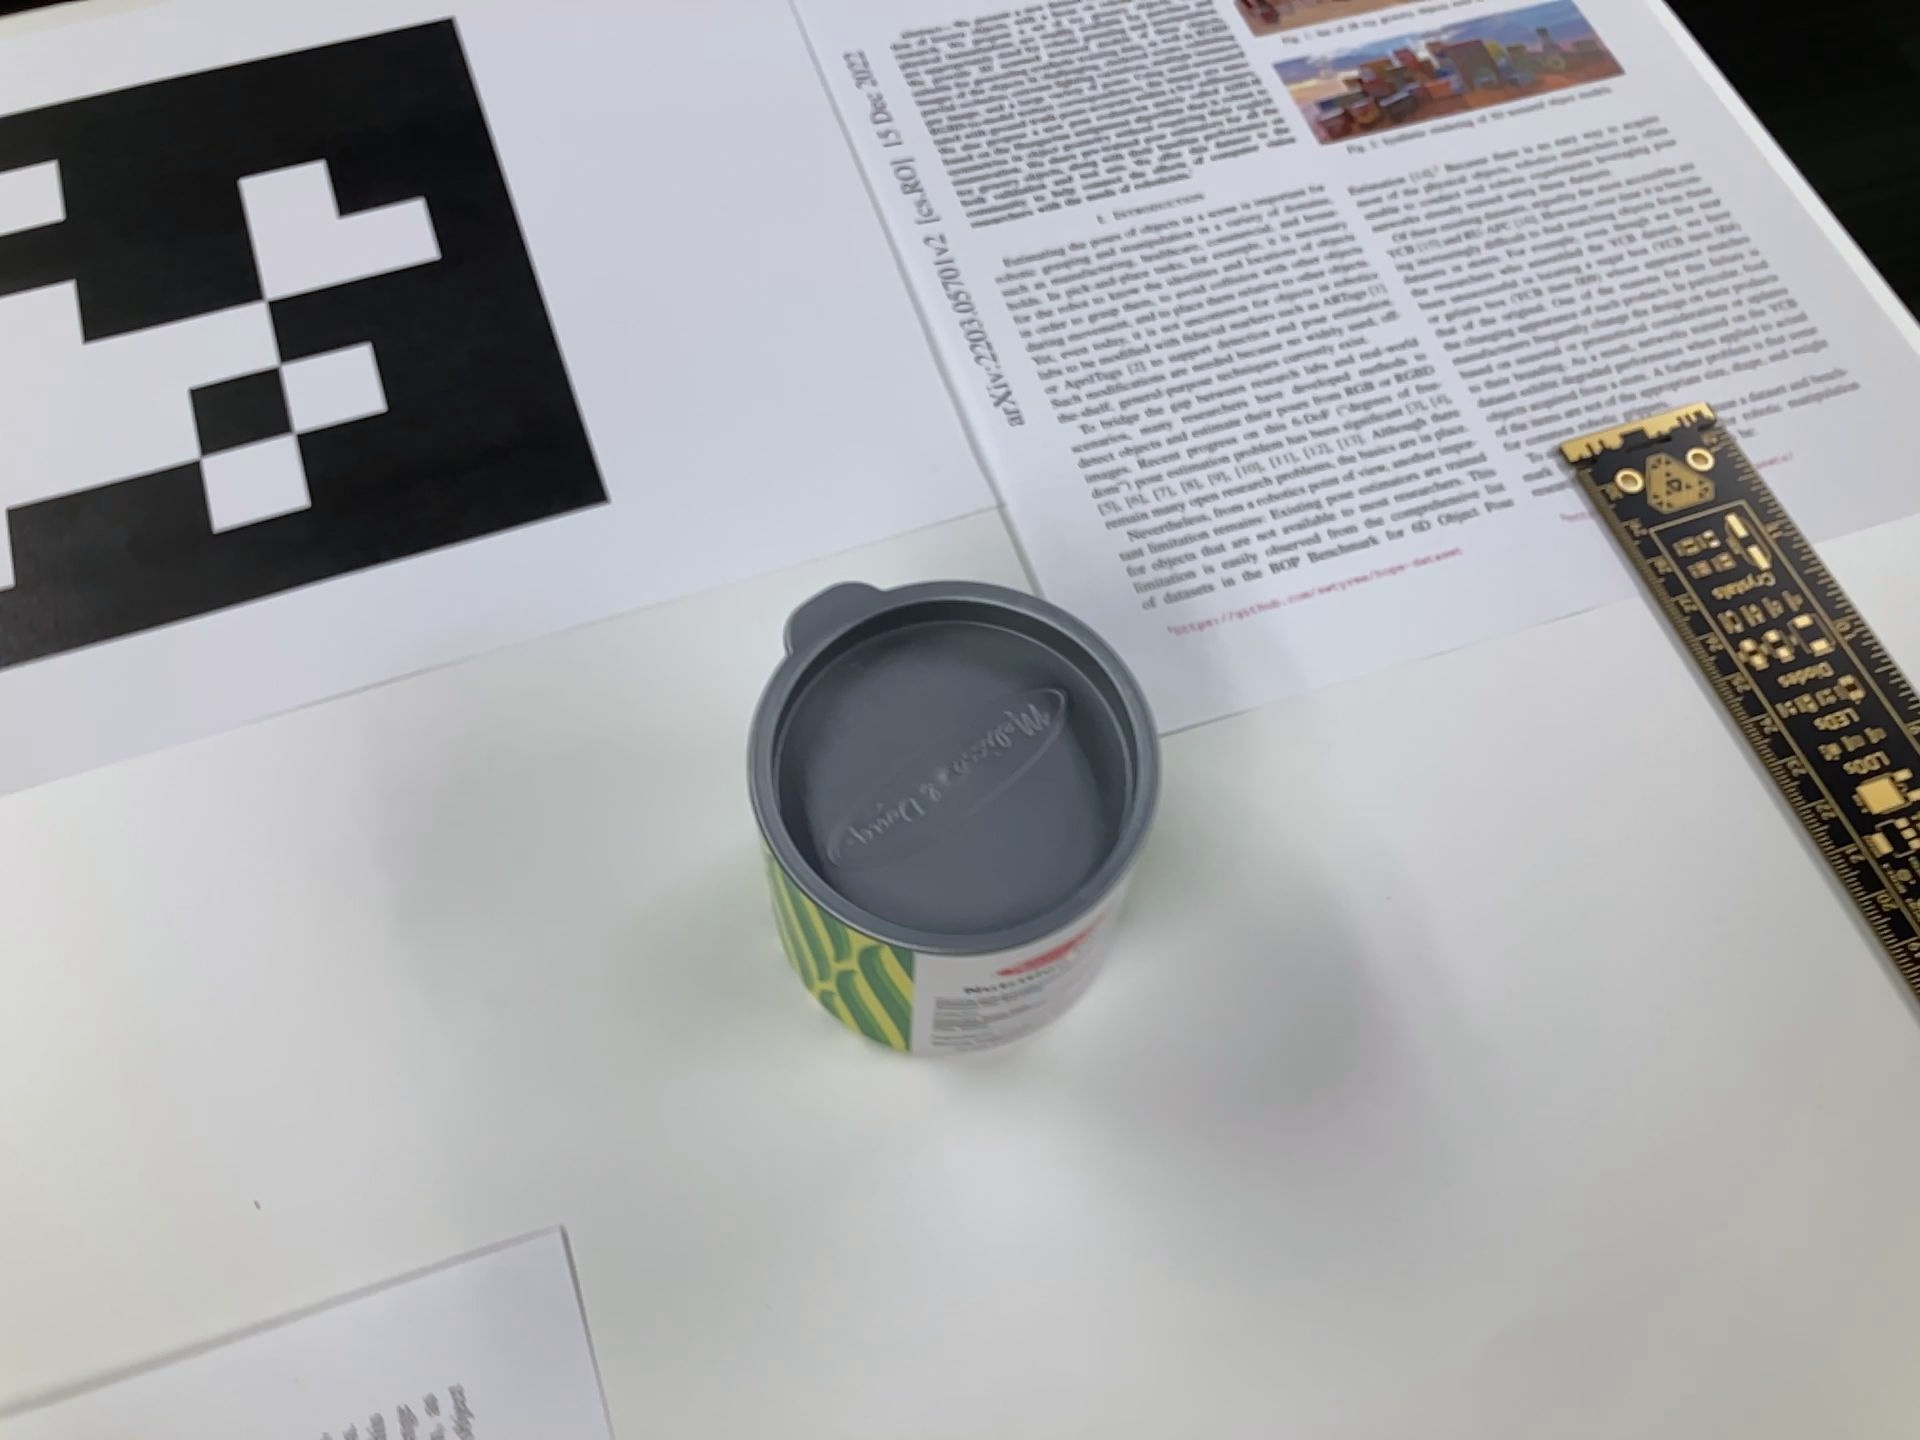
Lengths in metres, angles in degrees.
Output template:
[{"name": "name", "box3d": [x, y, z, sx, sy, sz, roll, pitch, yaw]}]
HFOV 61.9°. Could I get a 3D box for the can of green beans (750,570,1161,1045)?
[{"name": "can of green beans", "box3d": [-0.002, 0.017, 0.282, 0.071, 0.058, 0.071, 1, 62, -2]}]
